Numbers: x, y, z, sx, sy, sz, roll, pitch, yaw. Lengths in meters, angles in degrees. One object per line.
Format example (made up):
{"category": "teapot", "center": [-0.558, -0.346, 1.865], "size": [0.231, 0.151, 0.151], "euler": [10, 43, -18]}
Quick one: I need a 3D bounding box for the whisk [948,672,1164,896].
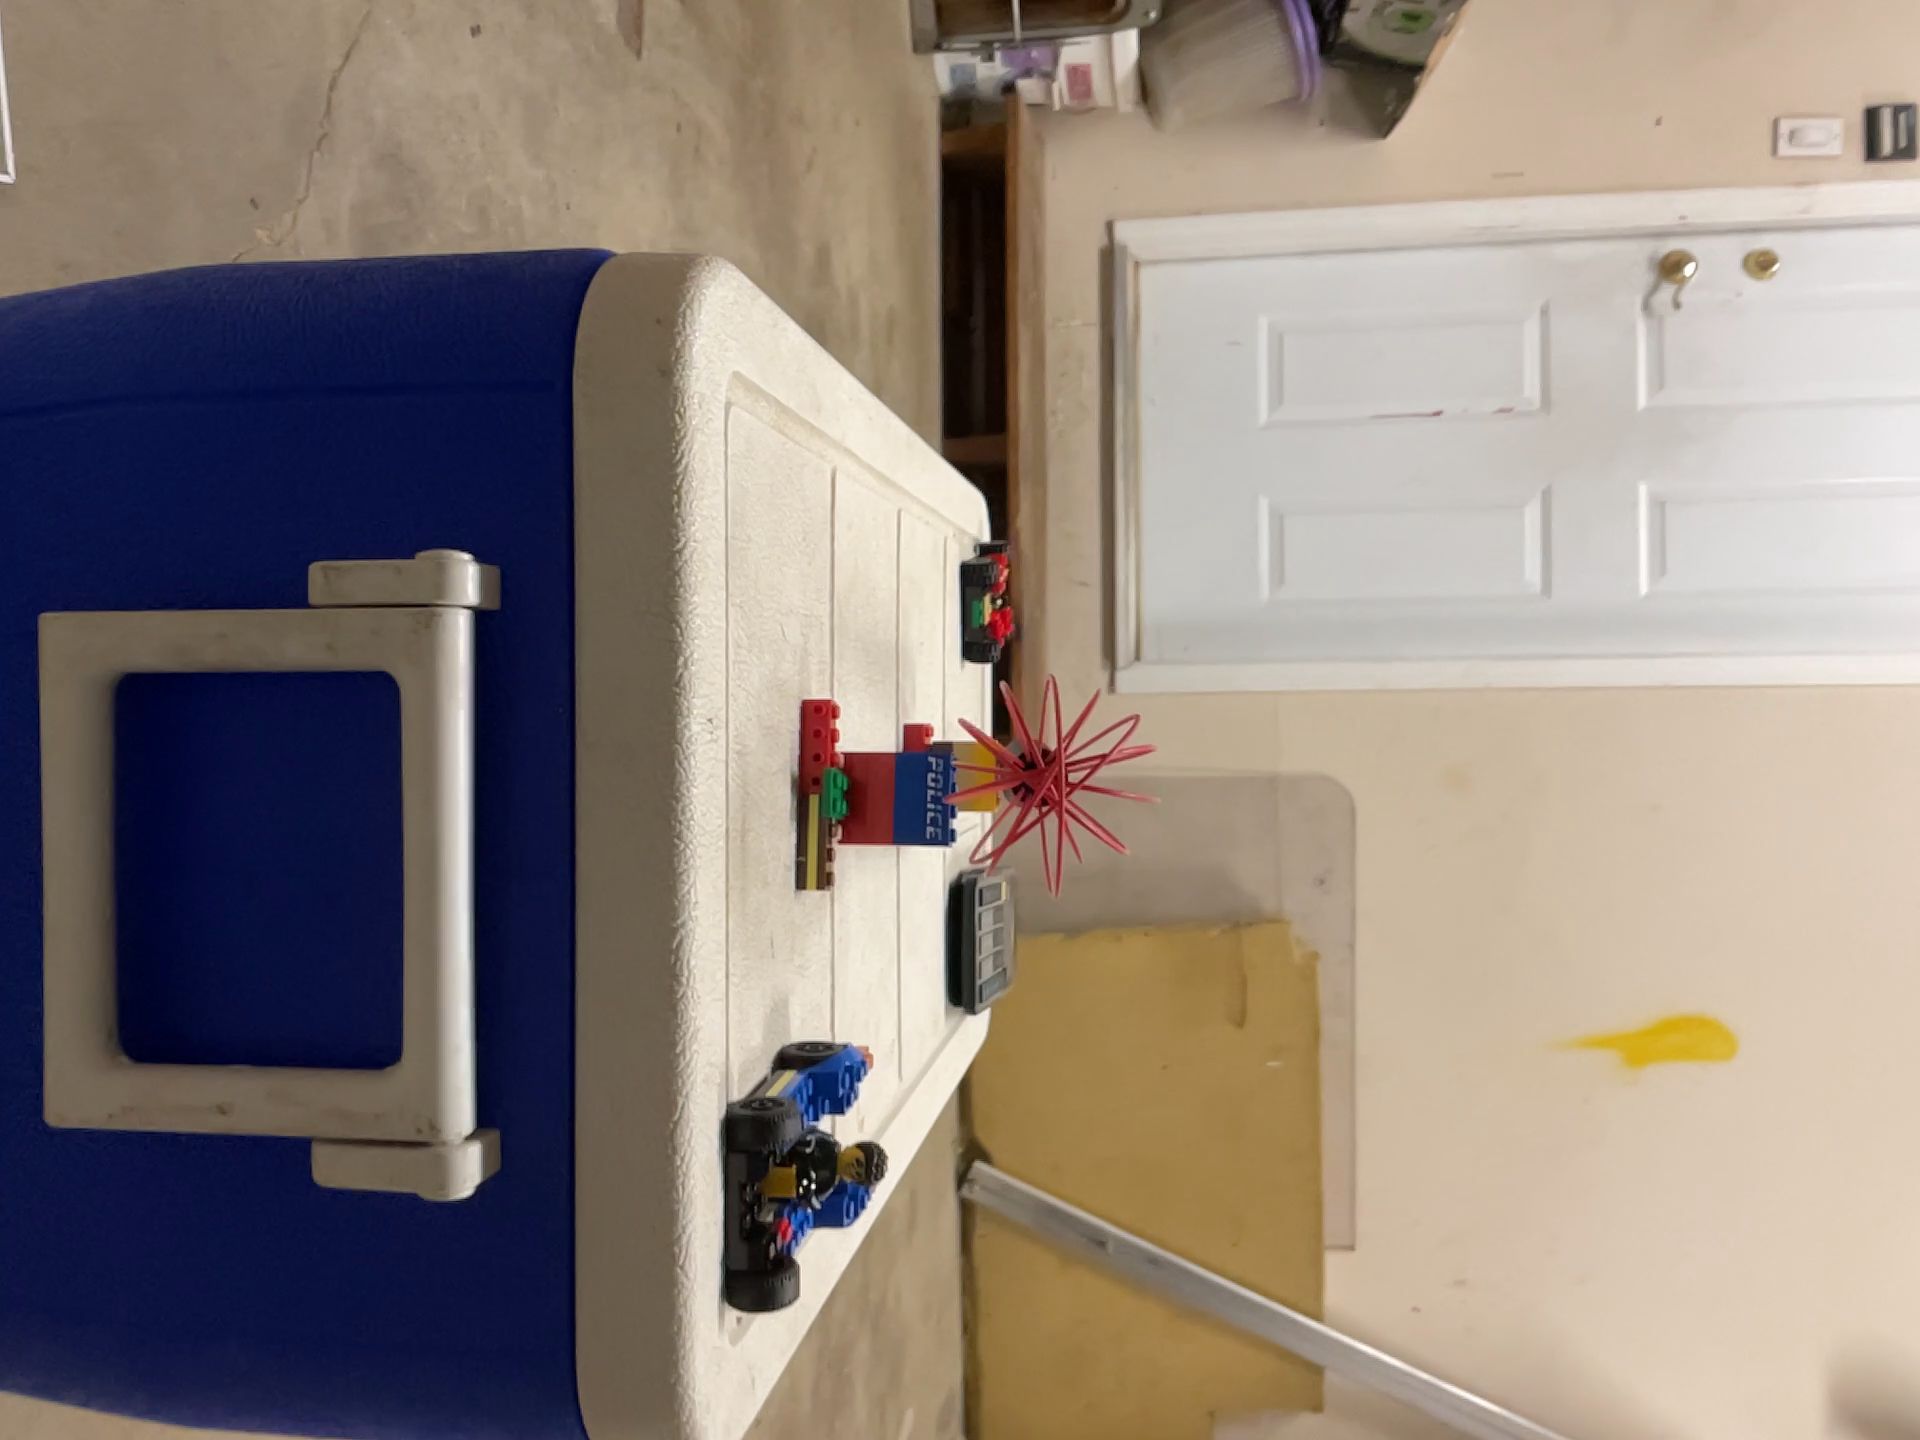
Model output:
{"category": "whisk", "center": [0.030, 0.022, 0.607], "size": [0.296, 0.073, 0.073], "euler": [99, -12, -89]}
